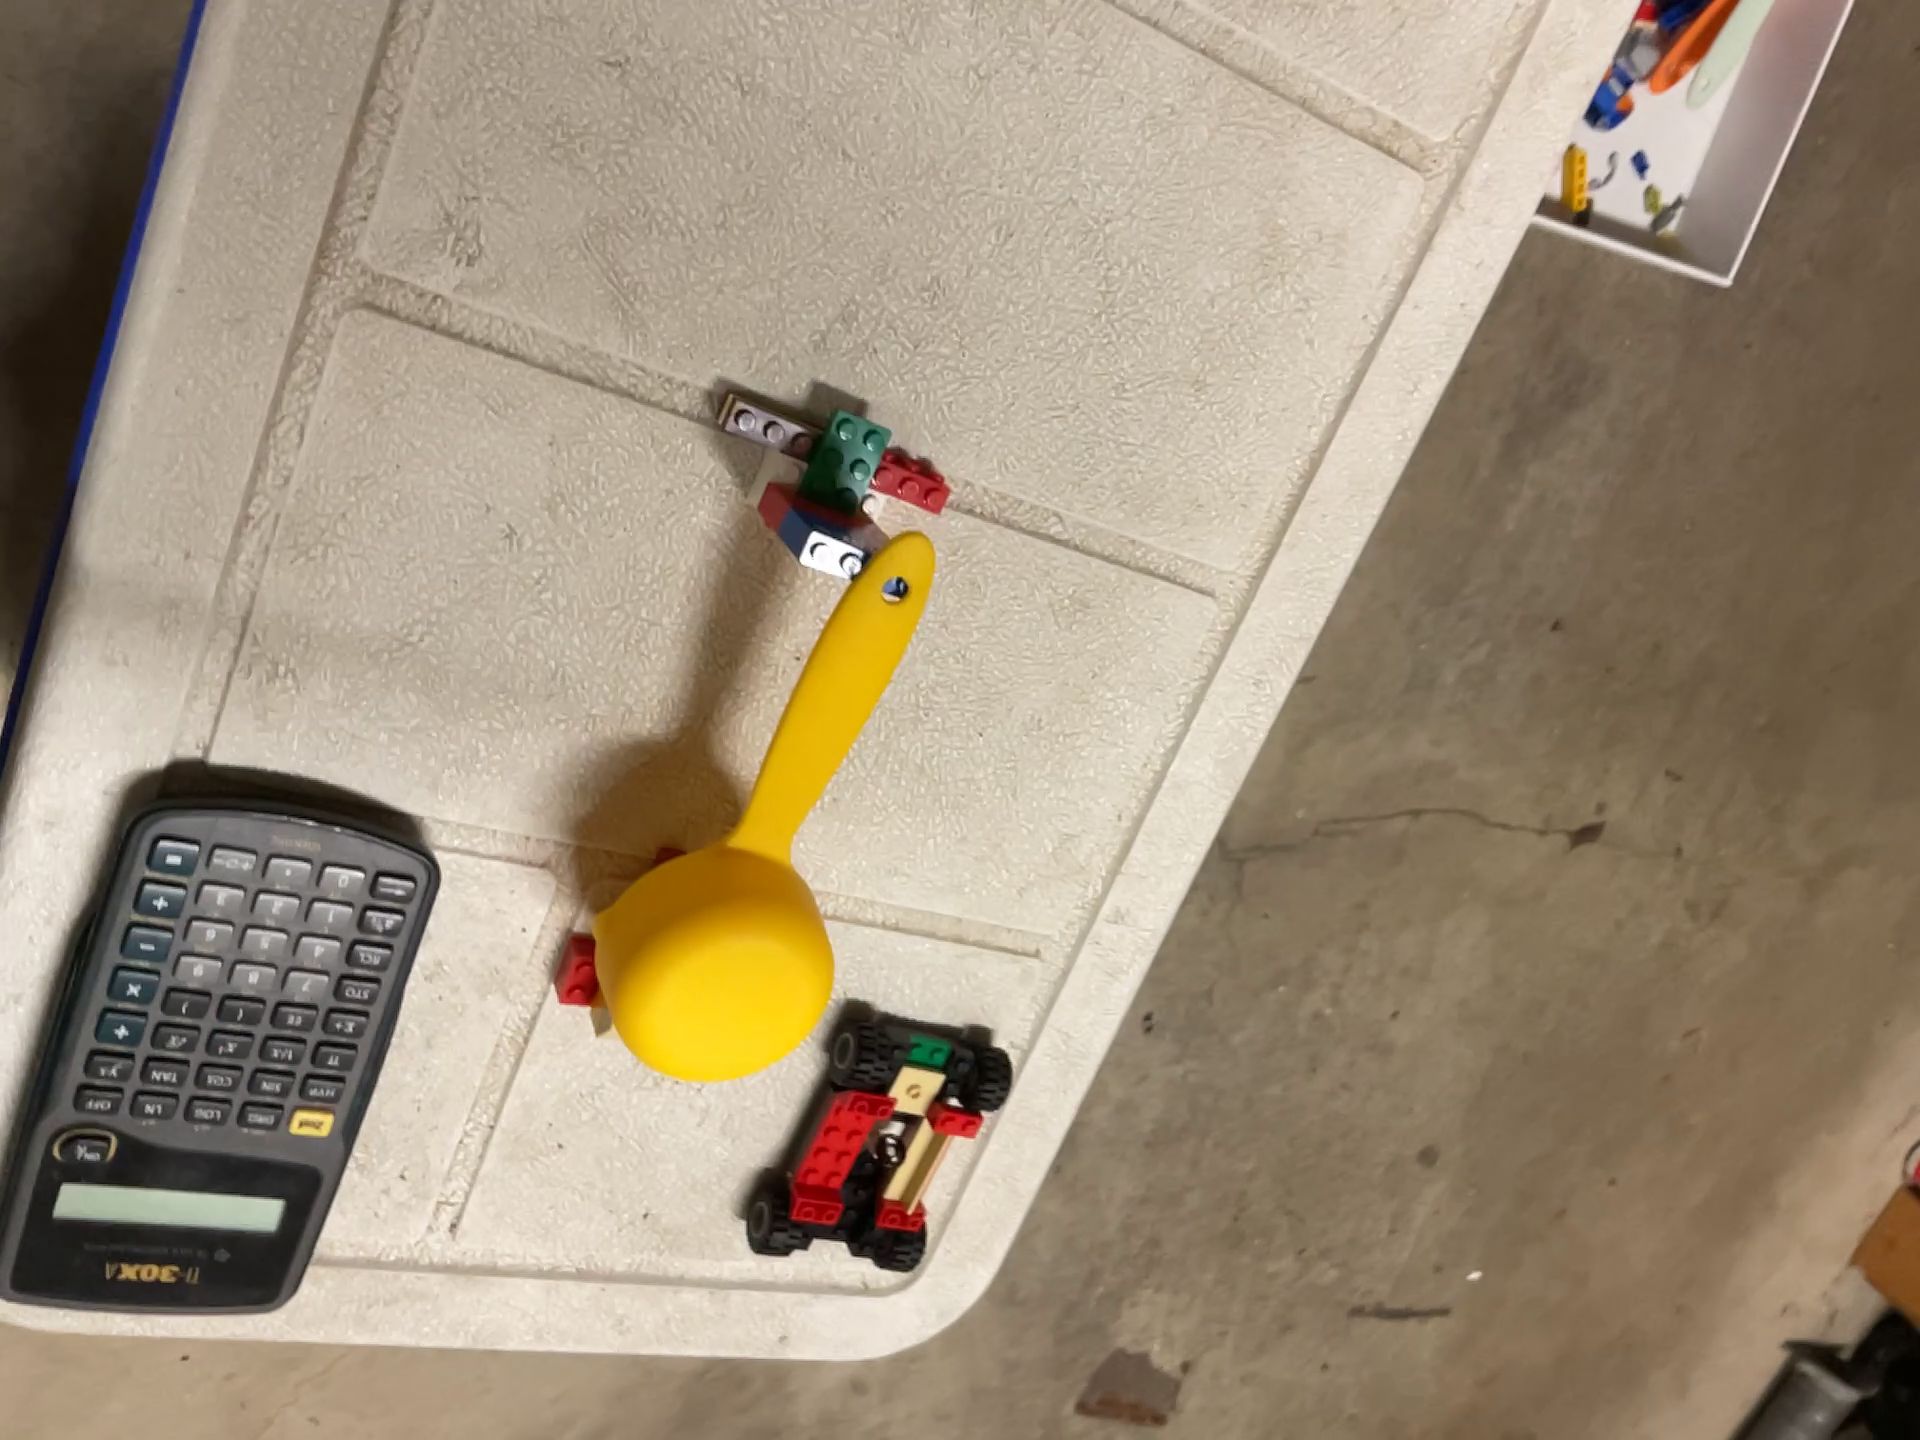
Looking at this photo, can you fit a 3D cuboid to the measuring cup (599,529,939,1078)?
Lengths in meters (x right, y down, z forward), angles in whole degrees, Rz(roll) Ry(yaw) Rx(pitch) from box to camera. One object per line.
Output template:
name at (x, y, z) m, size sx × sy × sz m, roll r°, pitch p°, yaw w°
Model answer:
measuring cup at (-0.040, 0.025, 0.398) m, size 0.062 × 0.029 × 0.156 m, roll 16°, pitch 114°, yaw -29°
